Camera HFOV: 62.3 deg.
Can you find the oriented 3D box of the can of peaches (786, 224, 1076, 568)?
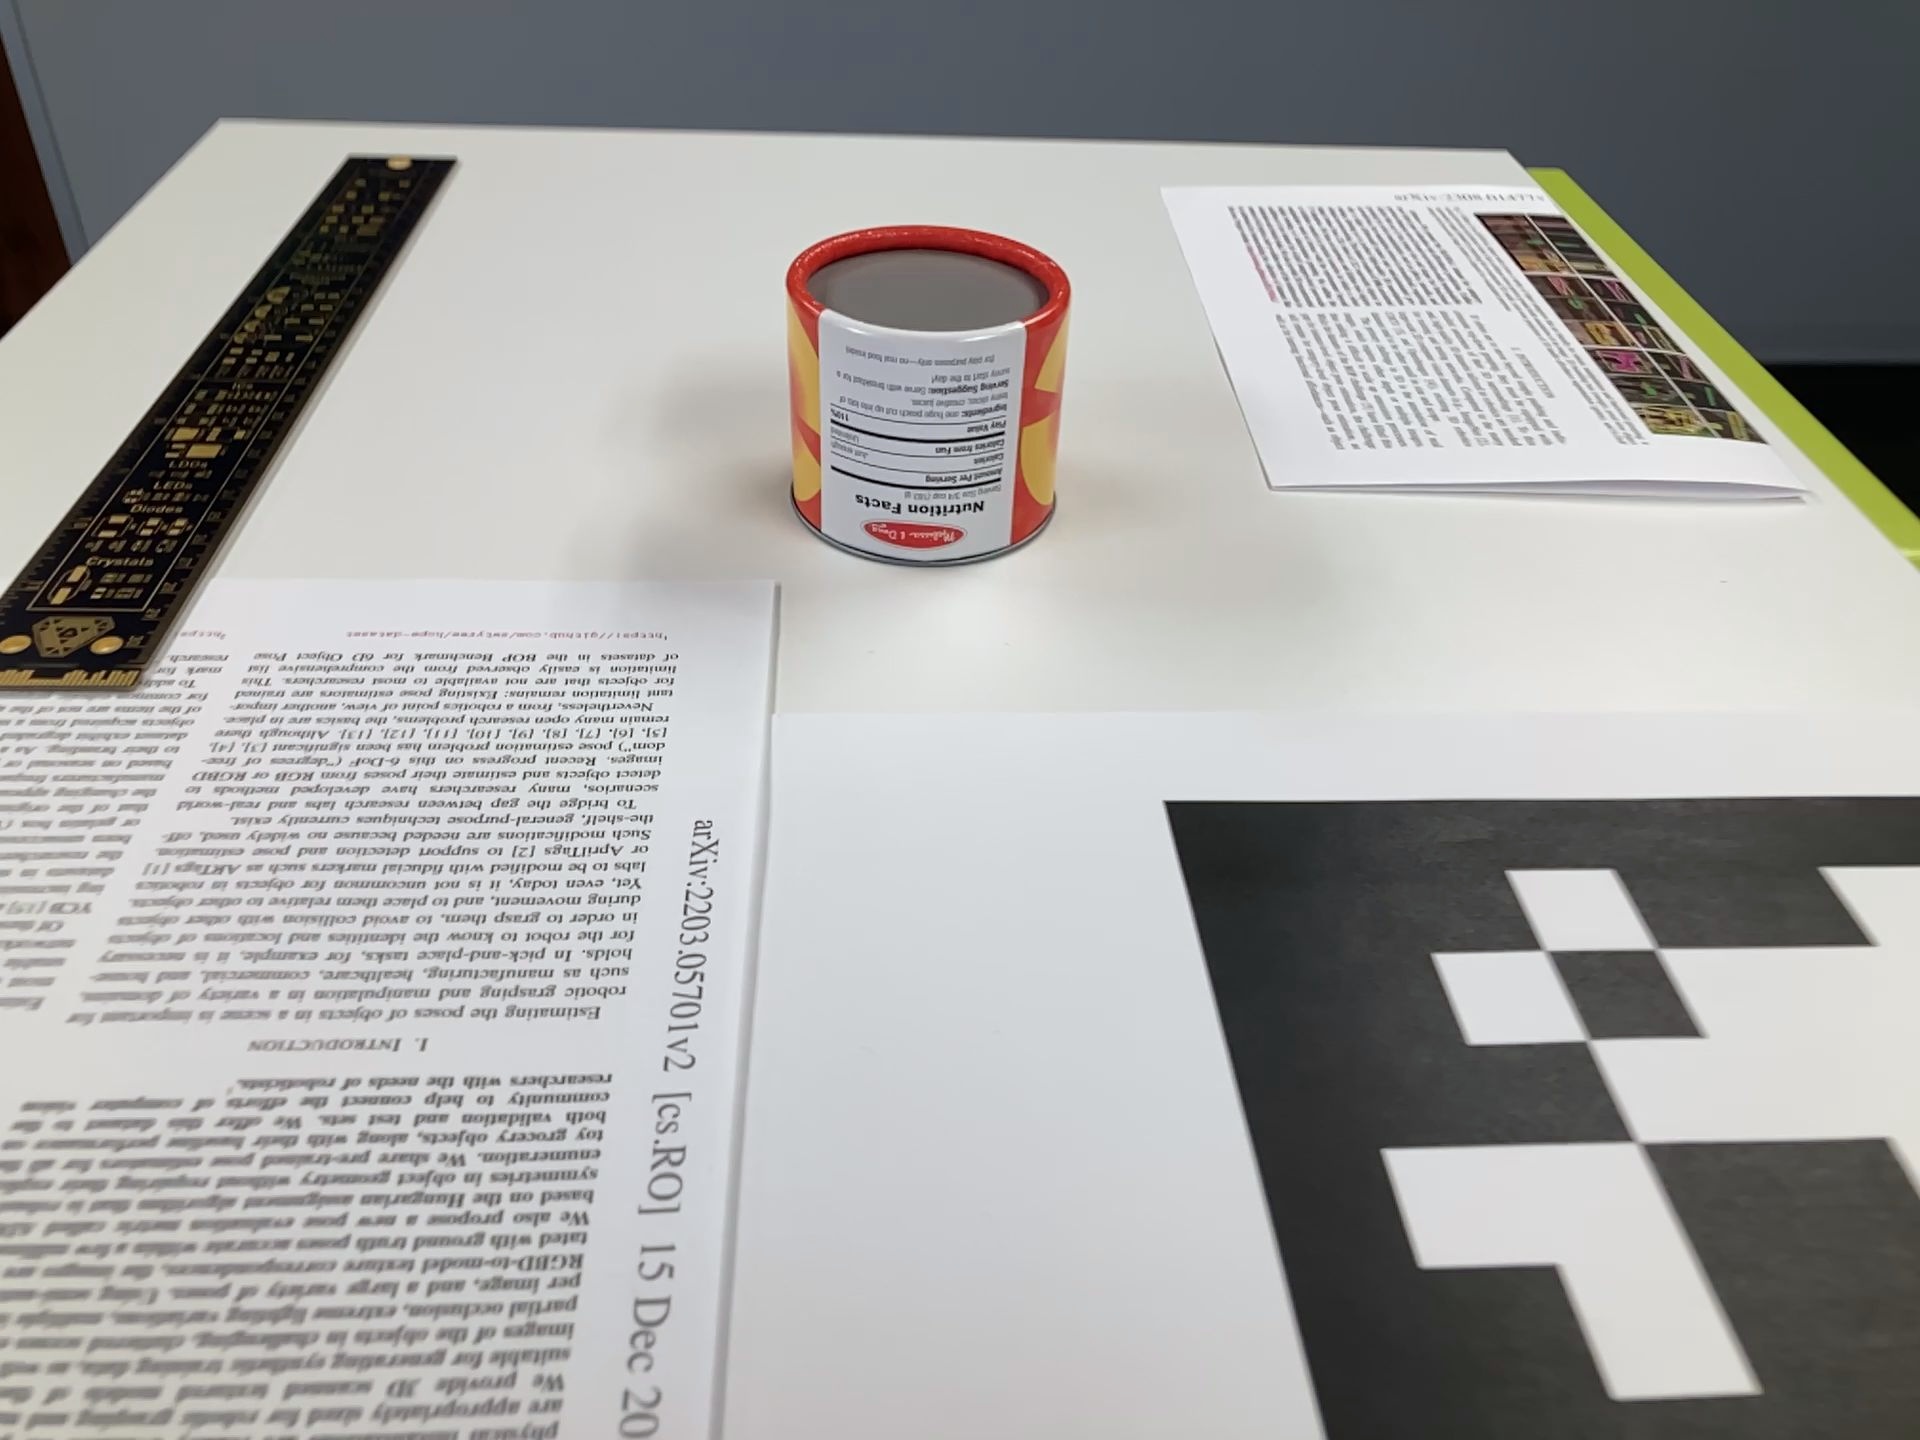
[{"bbox_3d":[-0.008,-0.079,0.375,0.071,0.058,0.071,1,38,-1],"label":"can of peaches"}]
